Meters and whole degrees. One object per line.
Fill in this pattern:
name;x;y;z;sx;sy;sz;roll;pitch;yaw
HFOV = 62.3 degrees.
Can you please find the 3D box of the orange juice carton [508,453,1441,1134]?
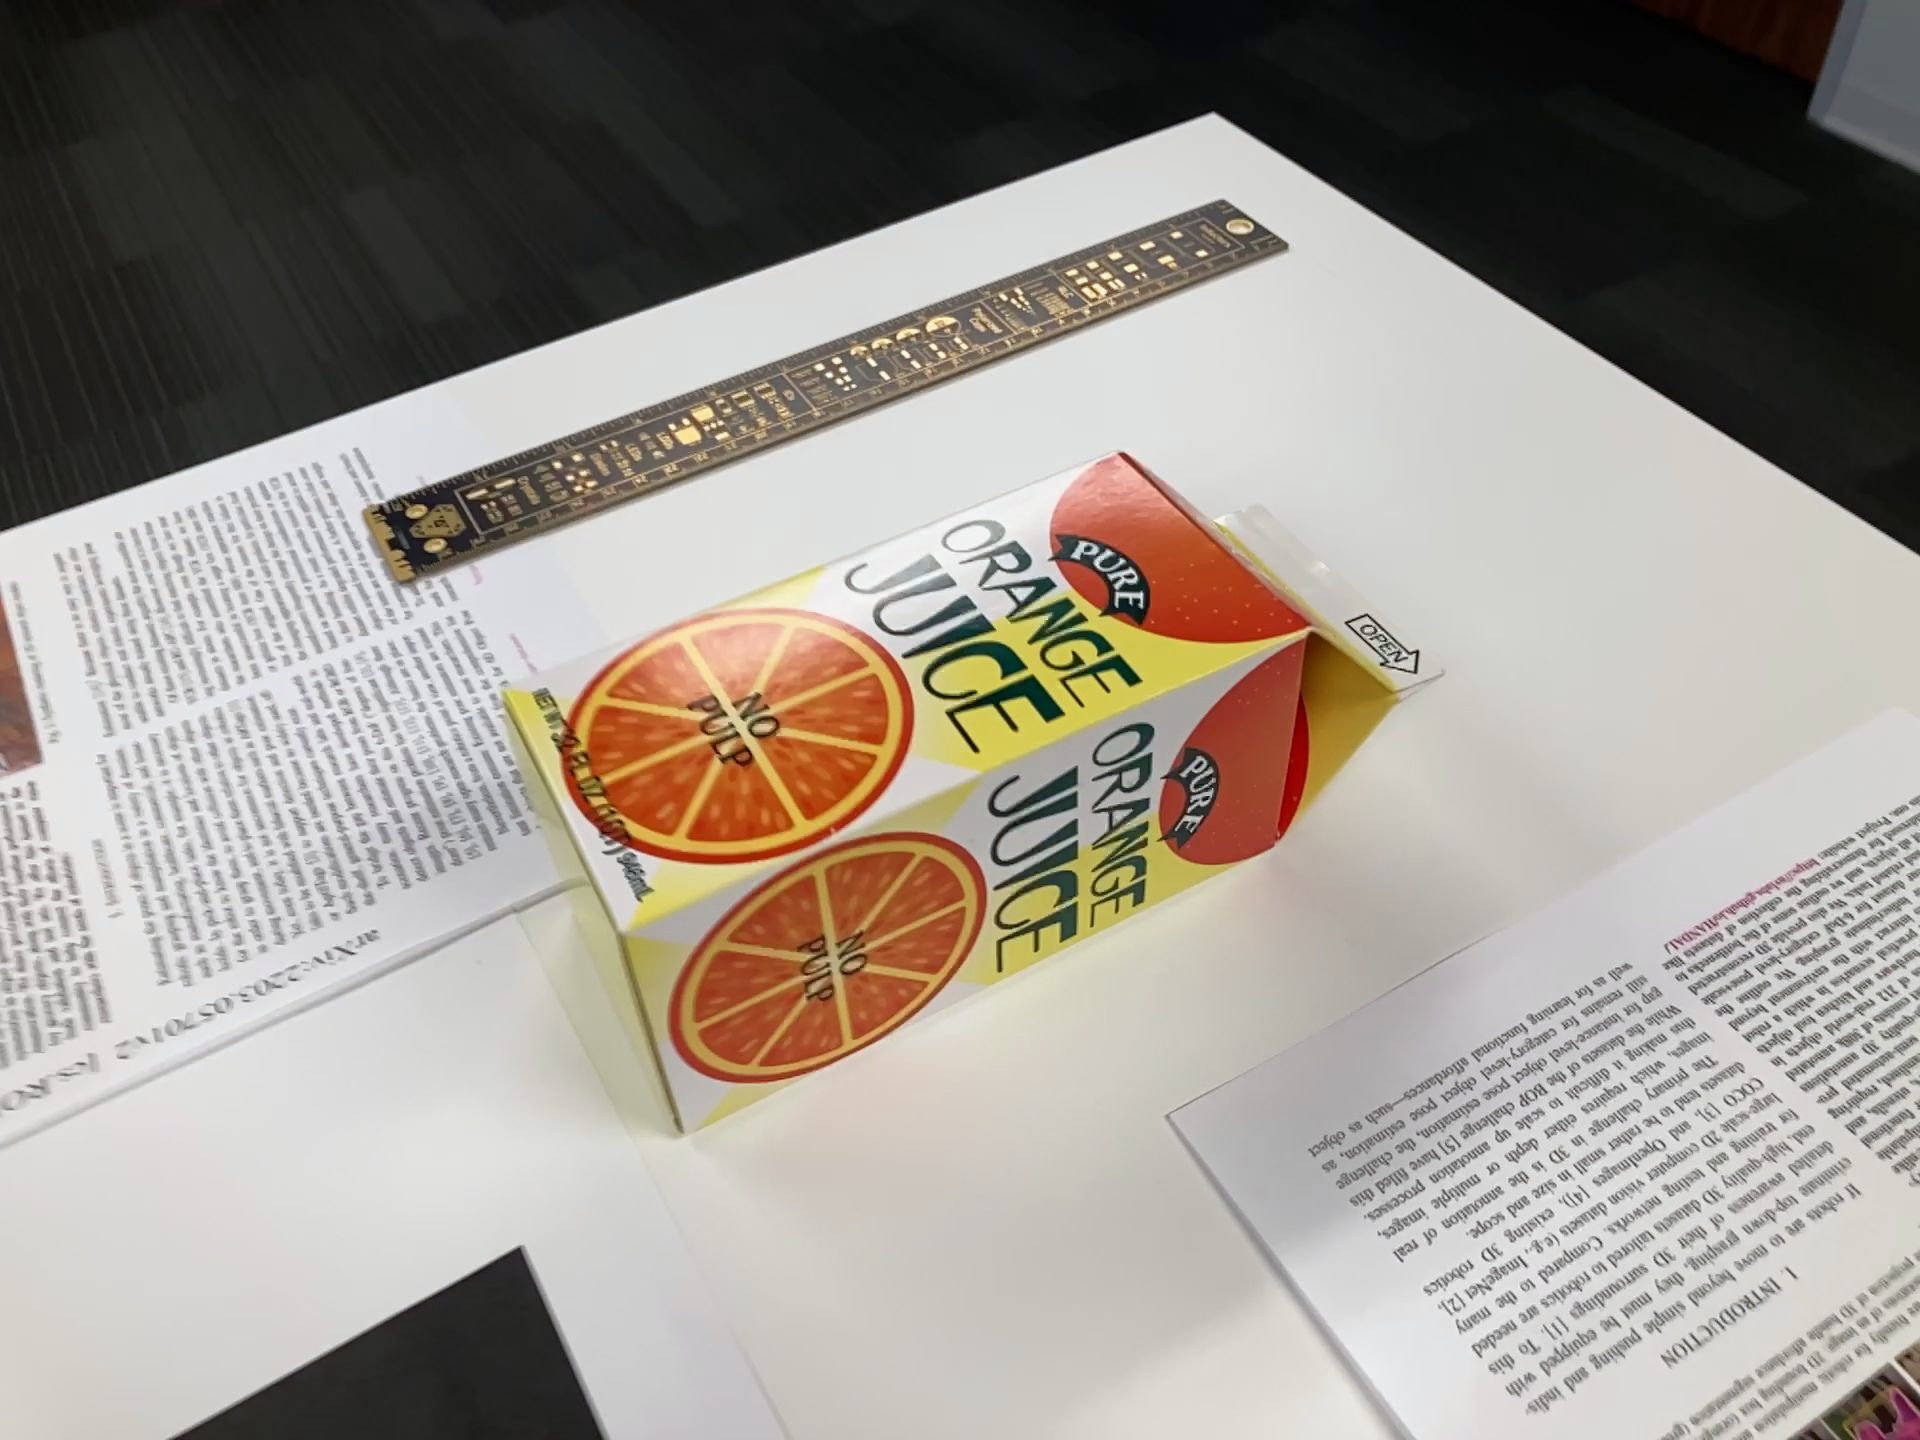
orange juice carton;0.008;0.004;0.353;0.192;0.073;0.072;-24;49;-17
